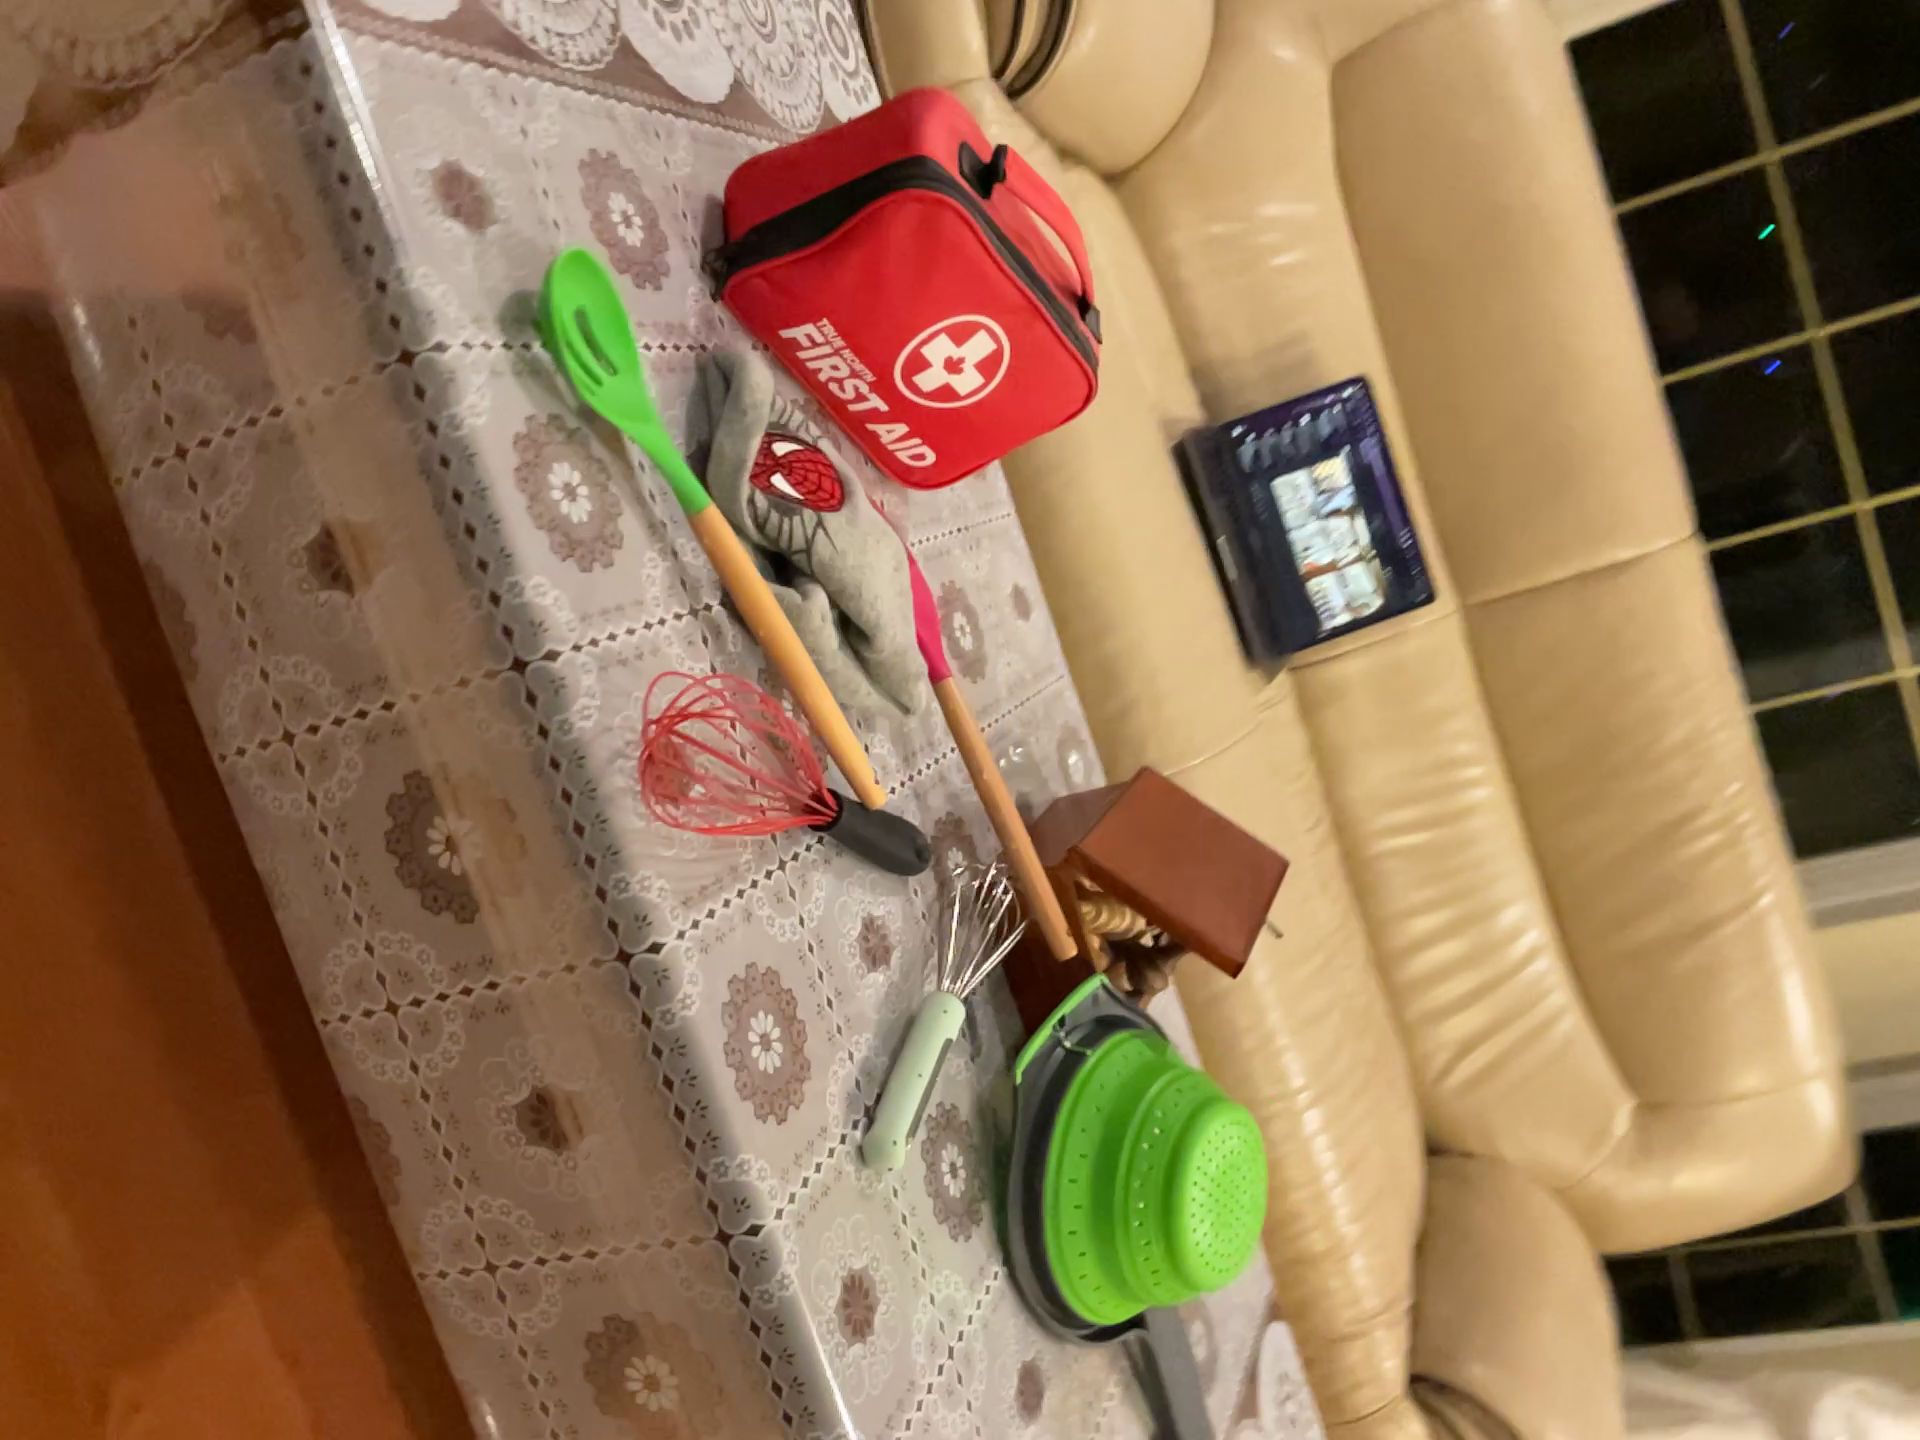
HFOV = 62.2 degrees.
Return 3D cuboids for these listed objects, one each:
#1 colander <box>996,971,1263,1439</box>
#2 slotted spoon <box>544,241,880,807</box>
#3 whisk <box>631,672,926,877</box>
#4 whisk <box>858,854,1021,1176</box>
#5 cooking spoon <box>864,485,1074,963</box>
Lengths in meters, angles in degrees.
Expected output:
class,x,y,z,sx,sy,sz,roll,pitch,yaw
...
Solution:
class,x,y,z,sx,sy,sz,roll,pitch,yaw
colander,0.139,0.350,0.983,0.204,0.094,0.396,-37,118,-45
slotted spoon,-0.117,-0.083,0.780,0.313,0.031,0.070,61,26,-22
whisk,-0.076,0.040,0.793,0.295,0.073,0.073,39,35,-64
whisk,-0.013,0.157,0.887,0.058,0.059,0.246,27,36,-2
cooking spoon,-0.001,-0.002,0.966,0.068,0.017,0.319,-5,69,-65
